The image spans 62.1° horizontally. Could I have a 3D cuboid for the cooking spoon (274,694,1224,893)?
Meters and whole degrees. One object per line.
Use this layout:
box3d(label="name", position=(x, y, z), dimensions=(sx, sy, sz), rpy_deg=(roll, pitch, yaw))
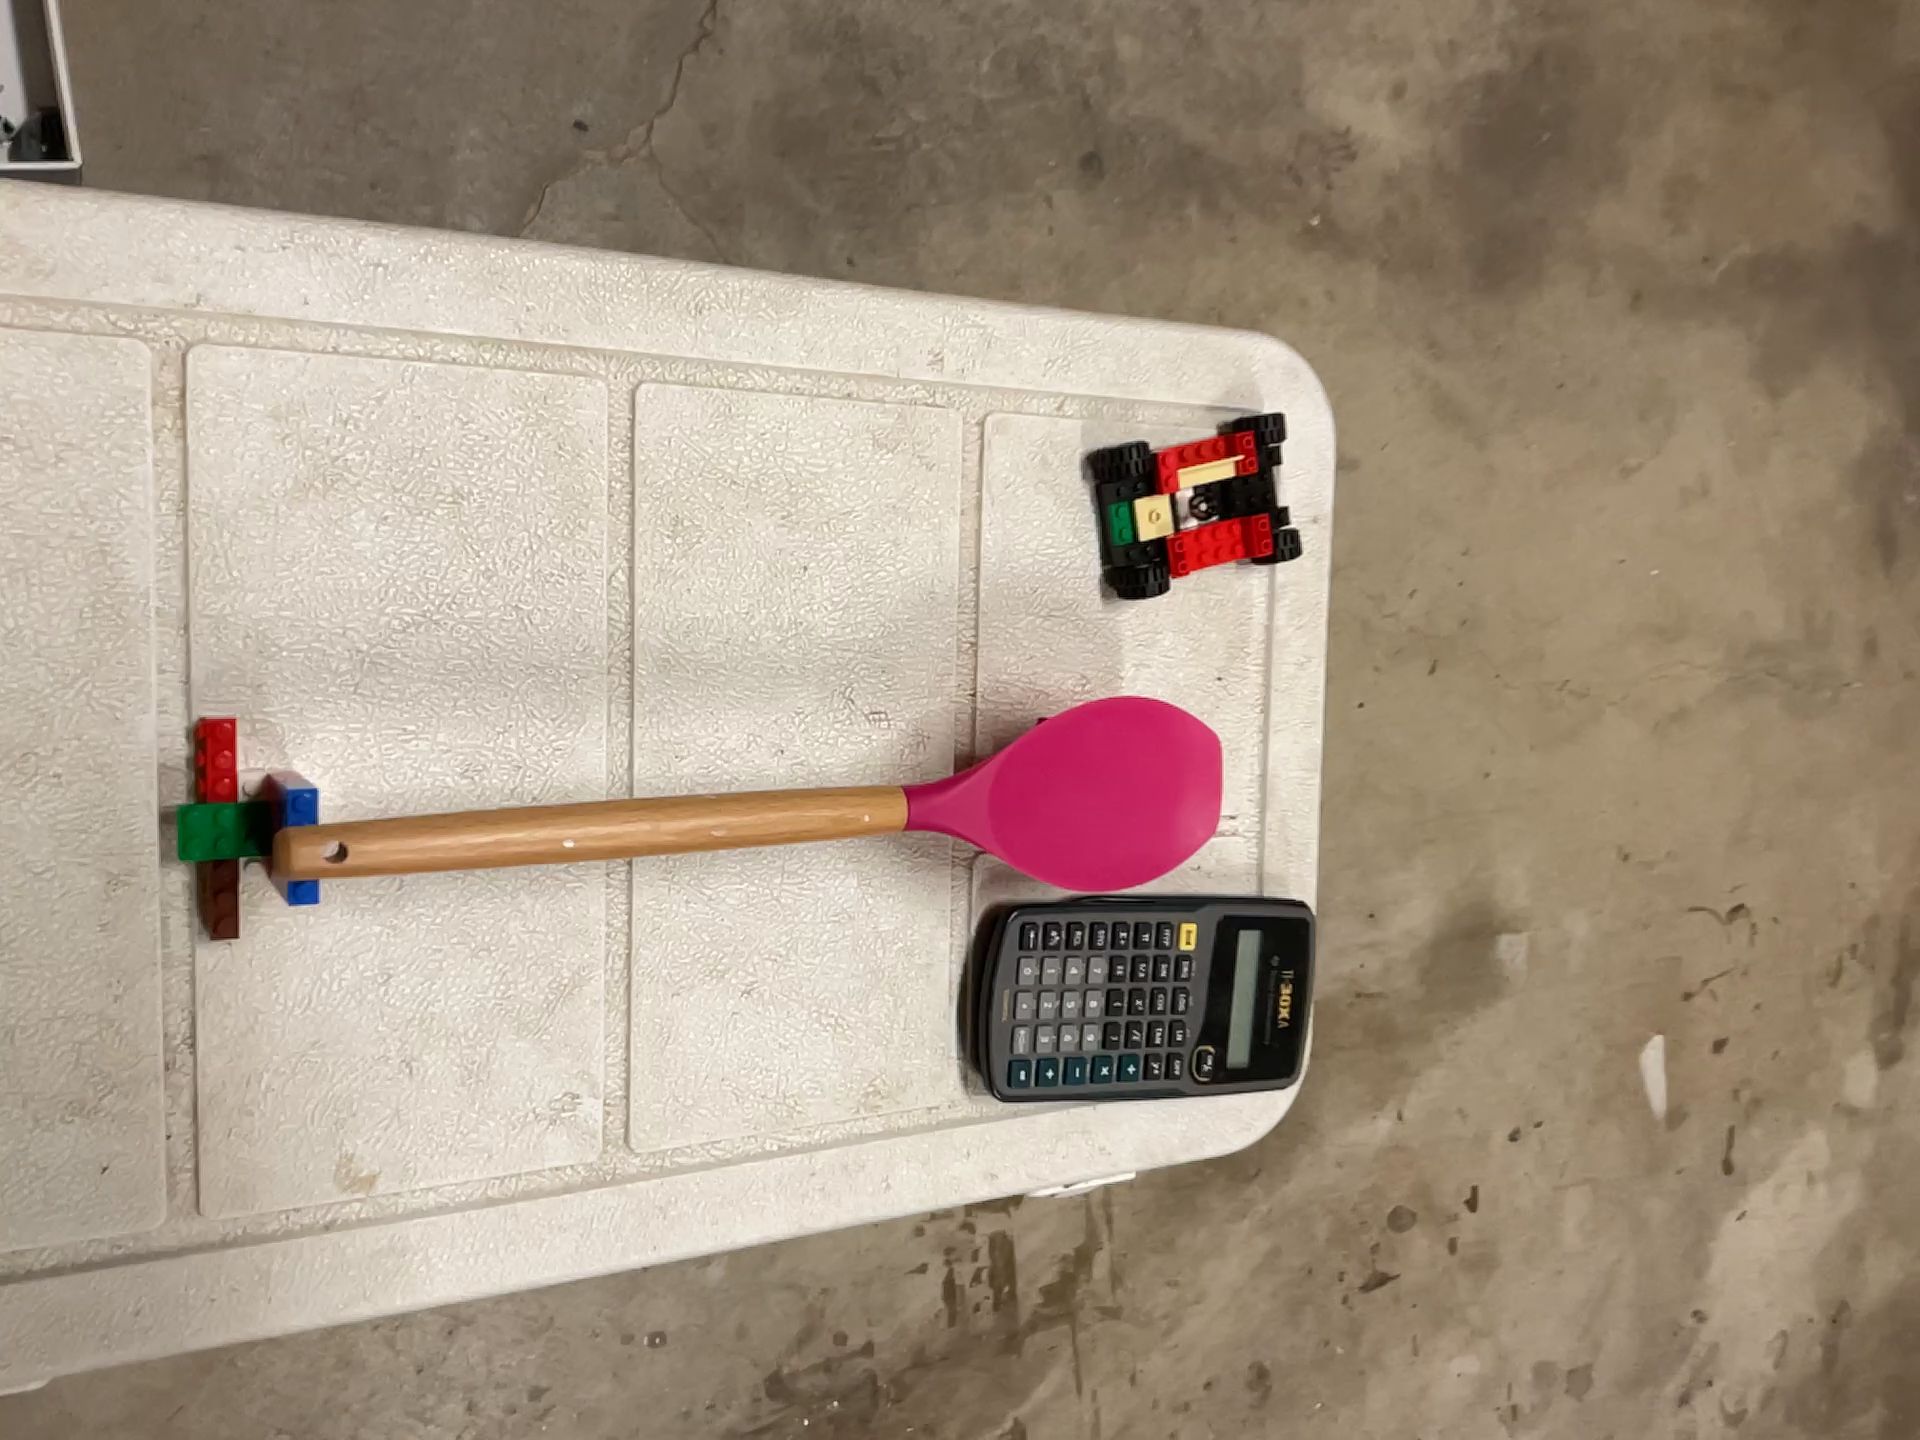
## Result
box3d(label="cooking spoon", position=(-0.043, 0.029, 0.501), dimensions=(0.319, 0.017, 0.068), rpy_deg=(-2, 96, -31))
